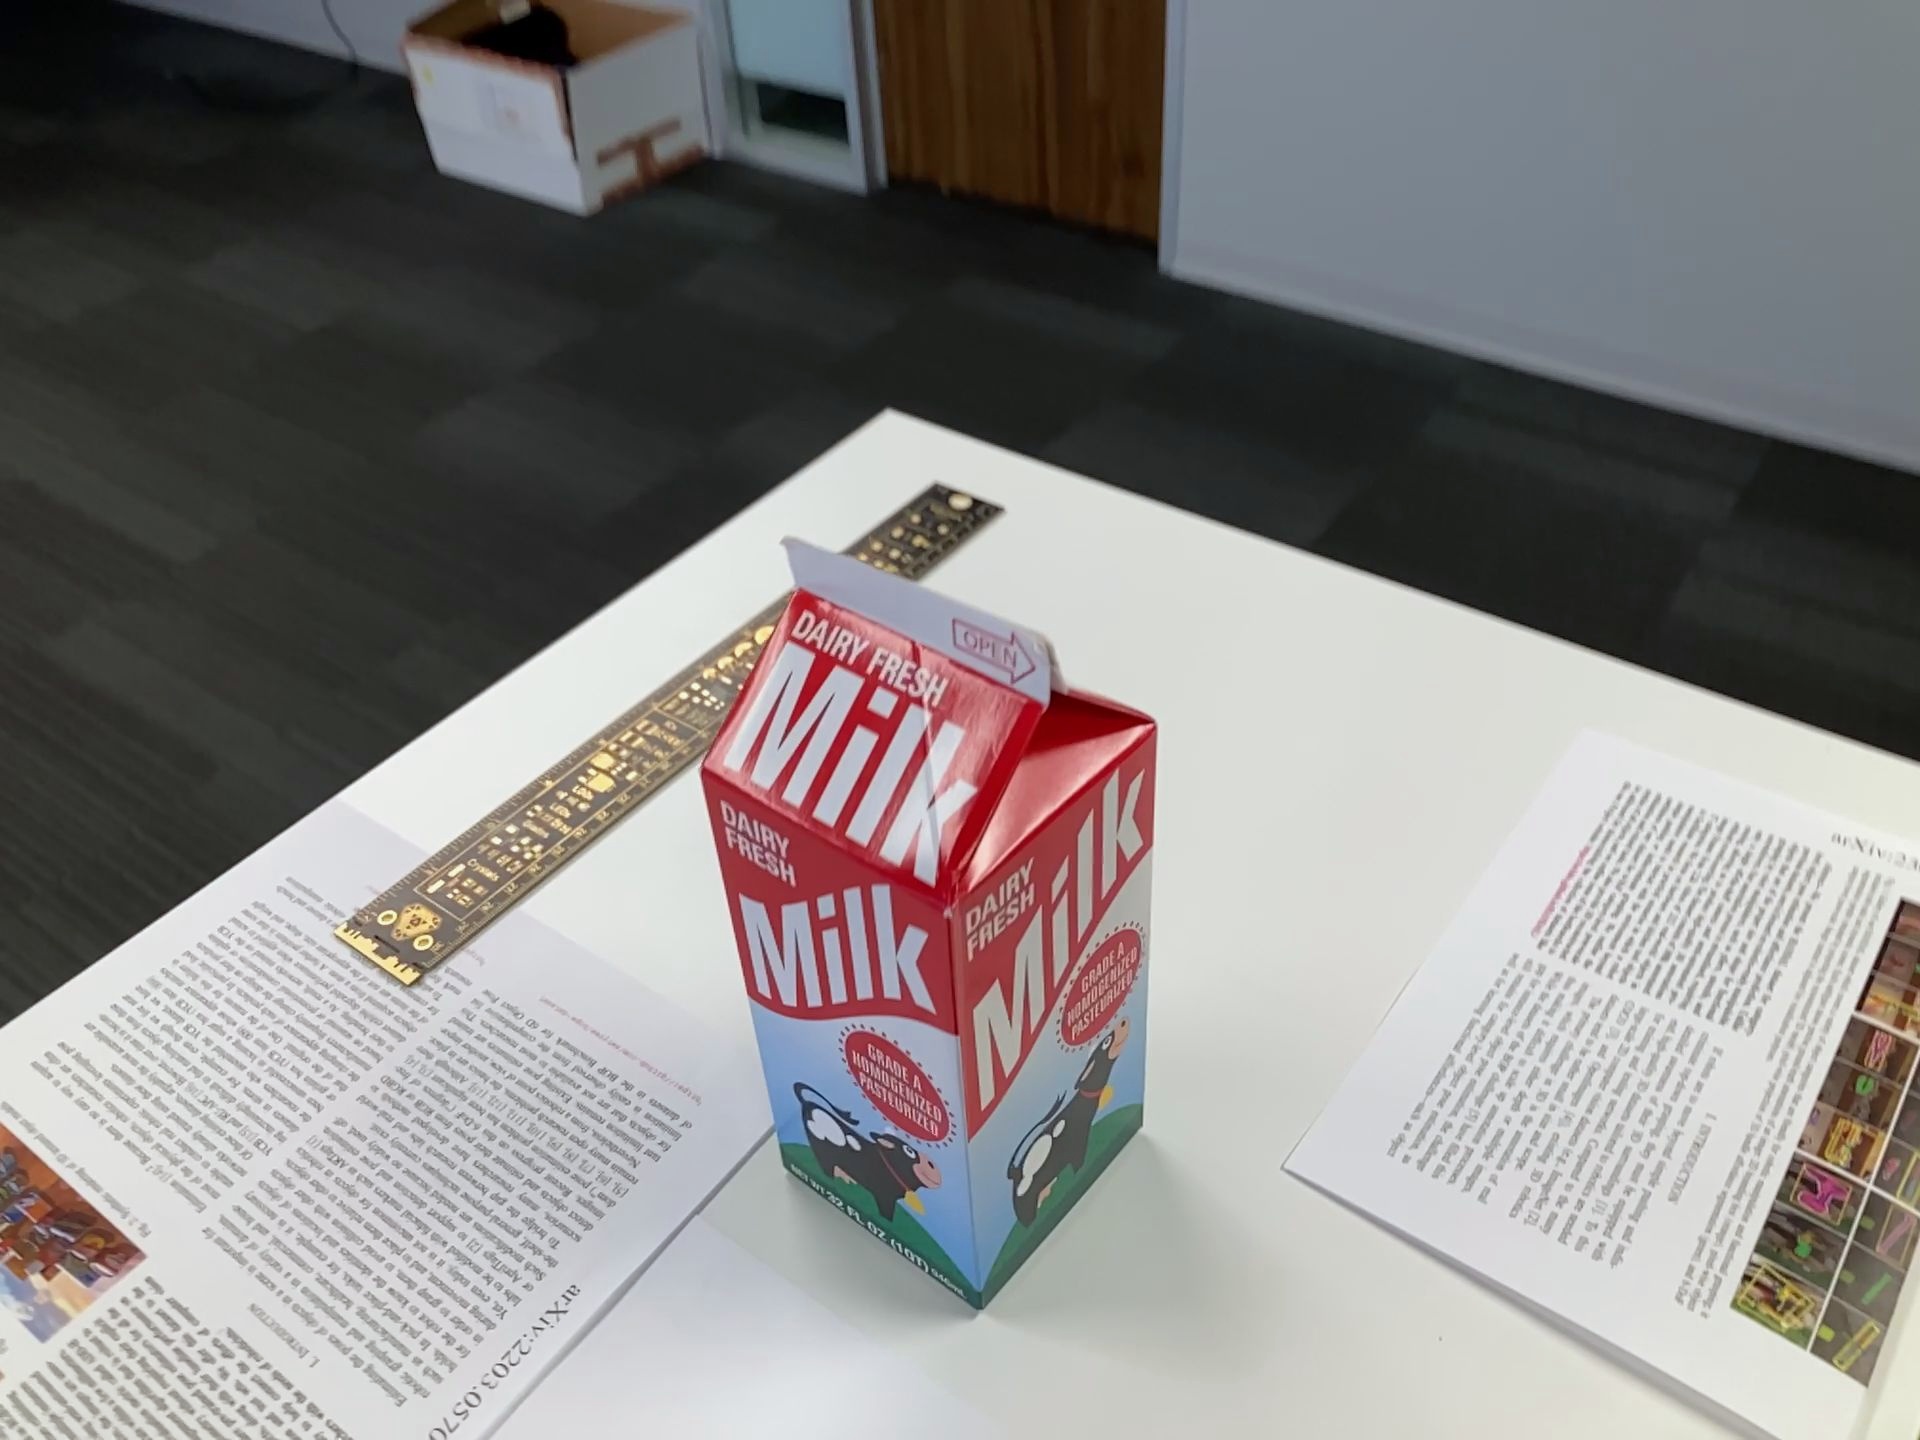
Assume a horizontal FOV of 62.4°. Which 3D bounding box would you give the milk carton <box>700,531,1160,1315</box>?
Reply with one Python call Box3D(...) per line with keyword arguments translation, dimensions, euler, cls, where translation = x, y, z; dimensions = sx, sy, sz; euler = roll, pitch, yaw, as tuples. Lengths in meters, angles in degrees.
Box3D(translation=(-0.004, 0.046, 0.371), dimensions=(0.072, 0.190, 0.073), euler=(27, 49, 31), cls="milk carton")
